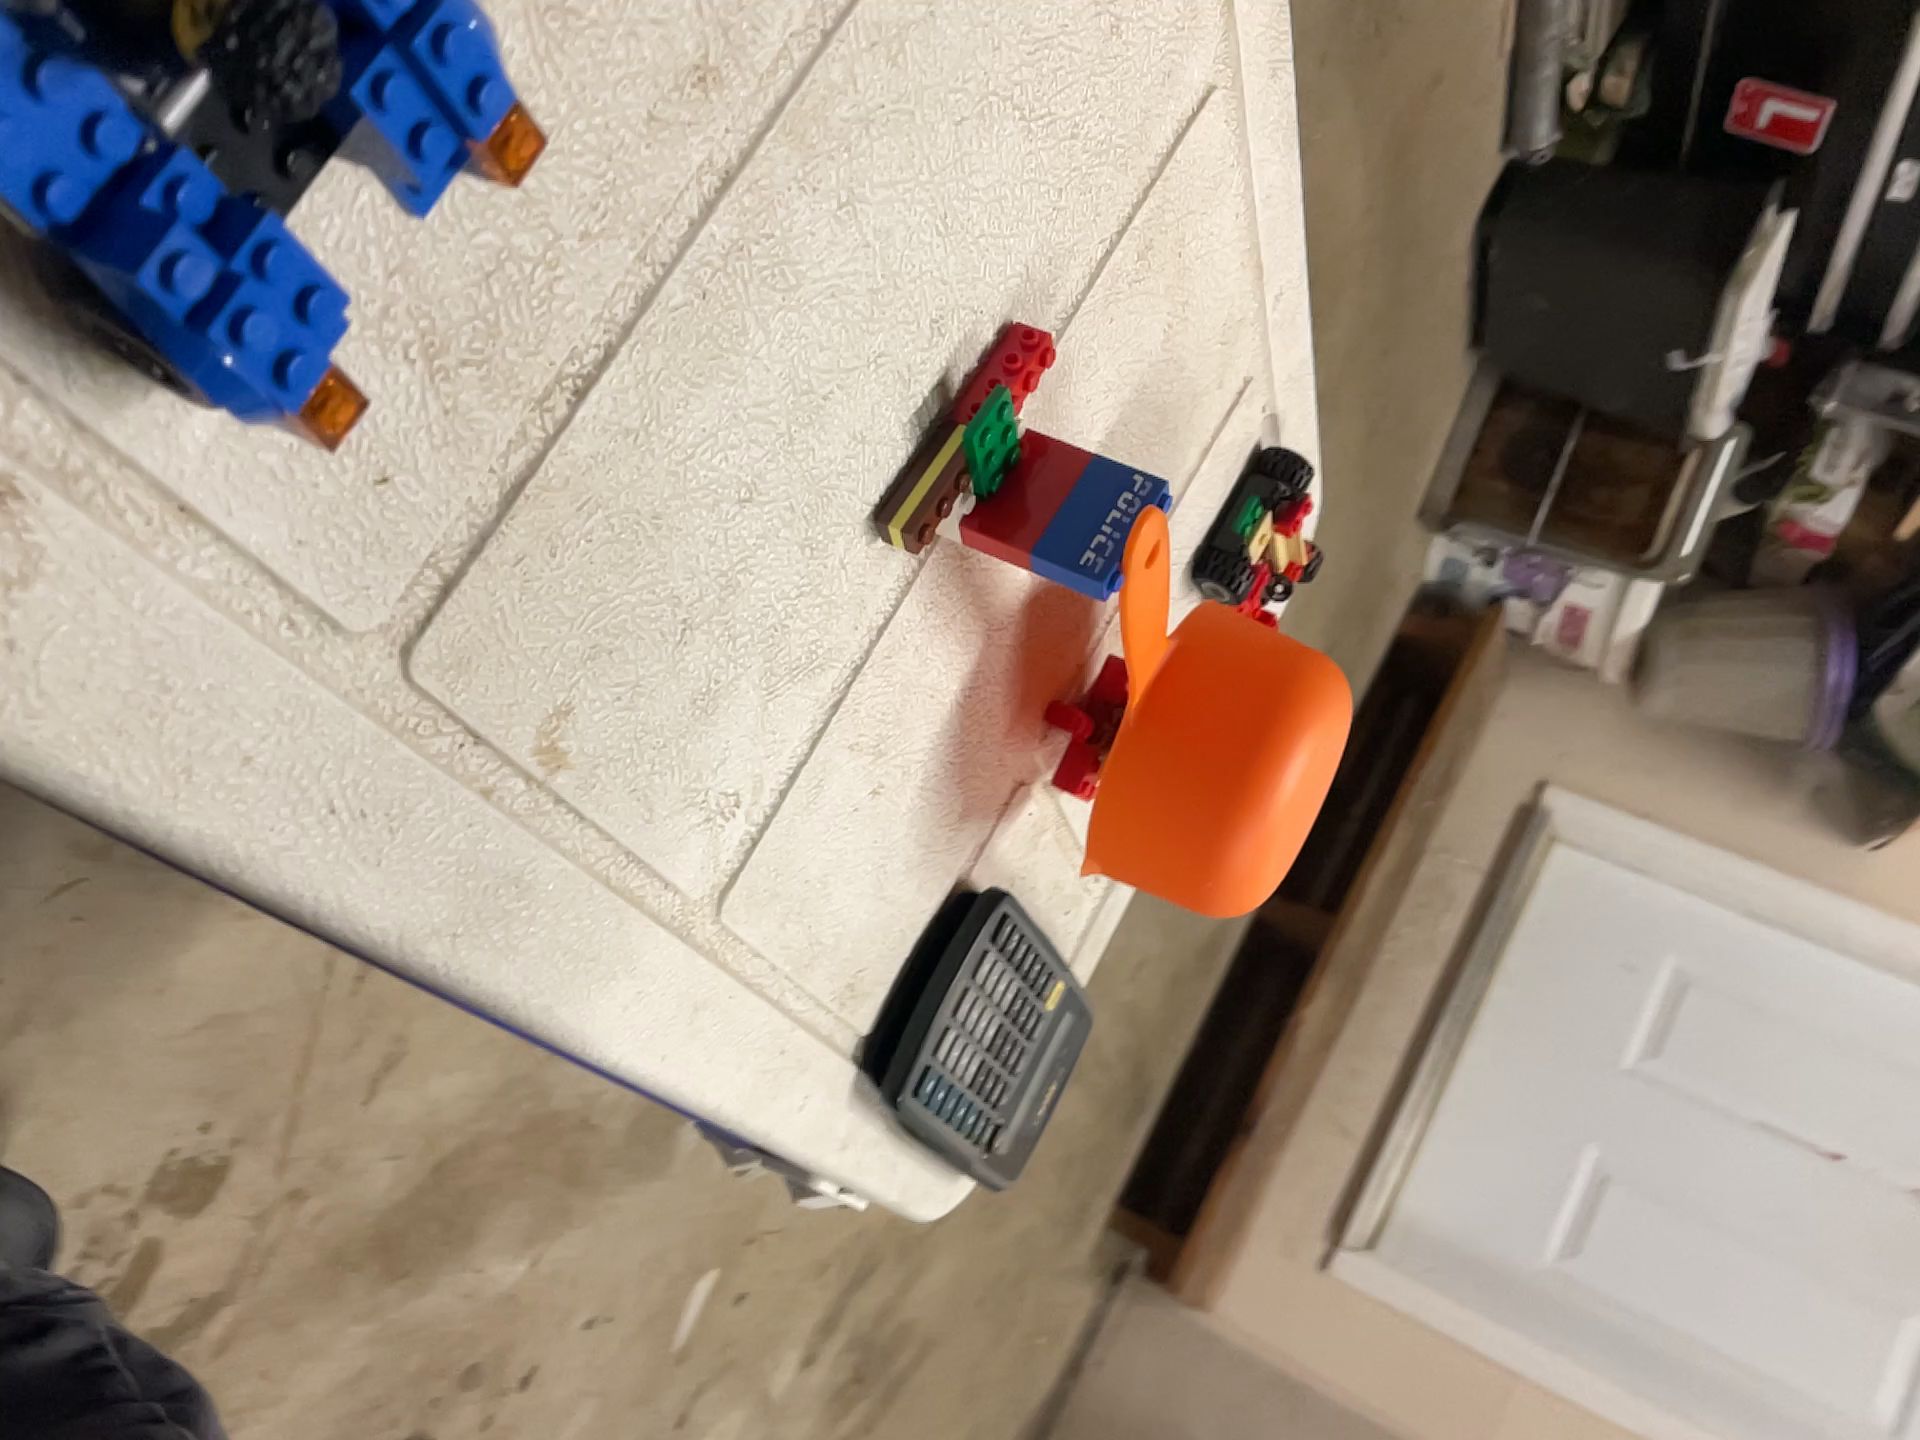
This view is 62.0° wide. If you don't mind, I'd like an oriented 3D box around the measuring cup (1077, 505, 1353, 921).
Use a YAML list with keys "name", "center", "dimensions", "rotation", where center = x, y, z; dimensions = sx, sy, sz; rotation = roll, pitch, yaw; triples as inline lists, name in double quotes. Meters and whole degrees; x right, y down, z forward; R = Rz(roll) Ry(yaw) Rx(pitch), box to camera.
- name: "measuring cup"
  center: [0.072, -0.002, 0.425]
  dimensions: [0.095, 0.052, 0.173]
  rotation: [-60, 162, -17]
